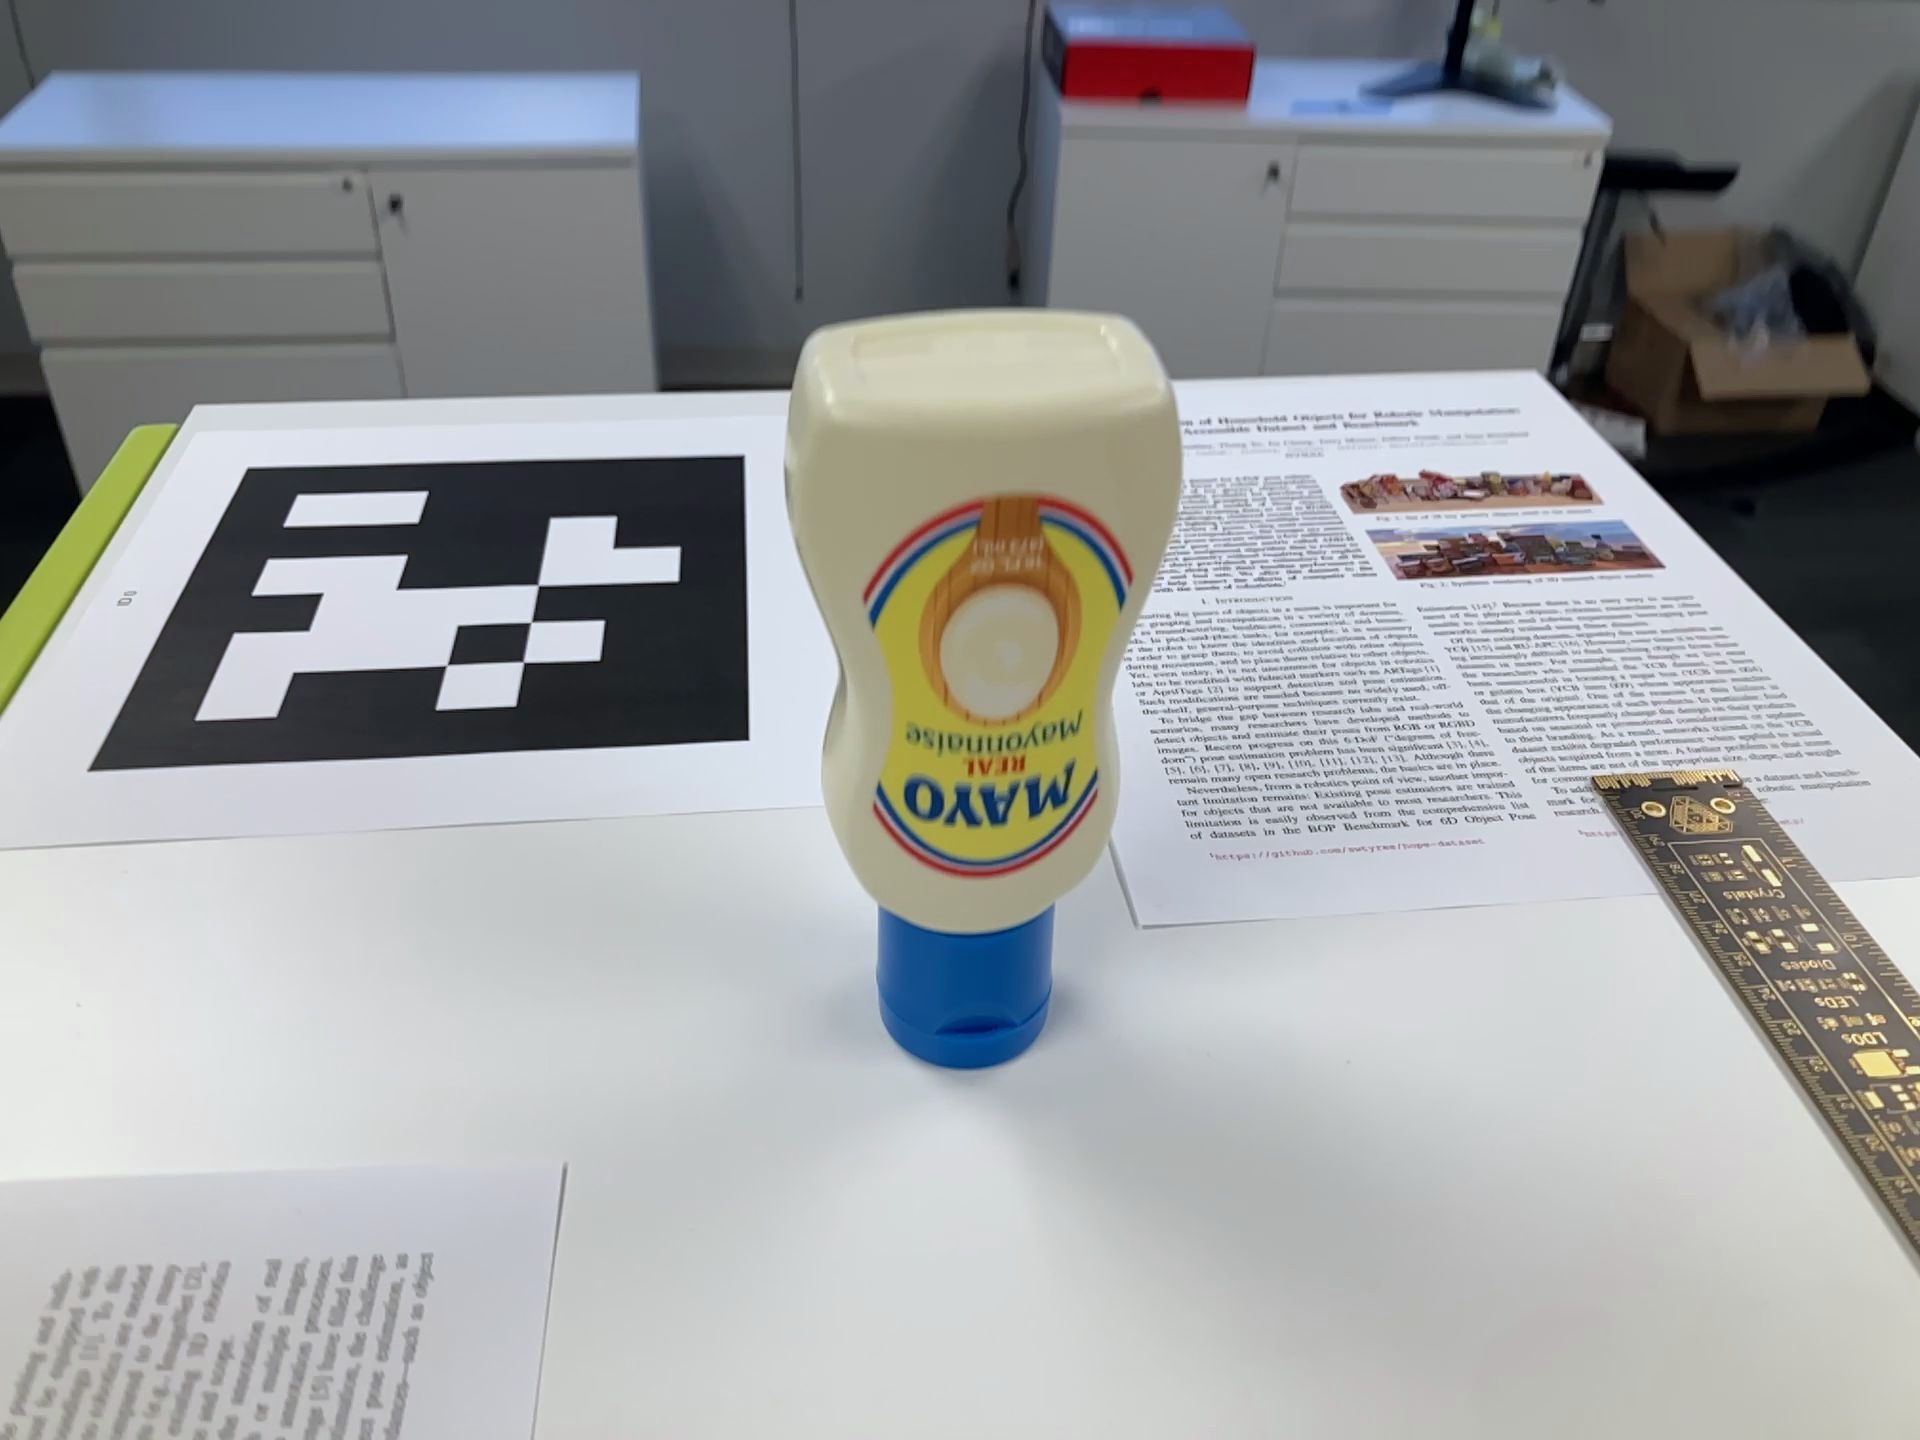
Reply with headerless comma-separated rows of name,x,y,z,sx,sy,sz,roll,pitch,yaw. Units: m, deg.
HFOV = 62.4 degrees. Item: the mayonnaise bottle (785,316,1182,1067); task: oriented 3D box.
mayonnaise bottle,0.002,0.002,0.294,0.065,0.148,0.041,-4,37,-7
